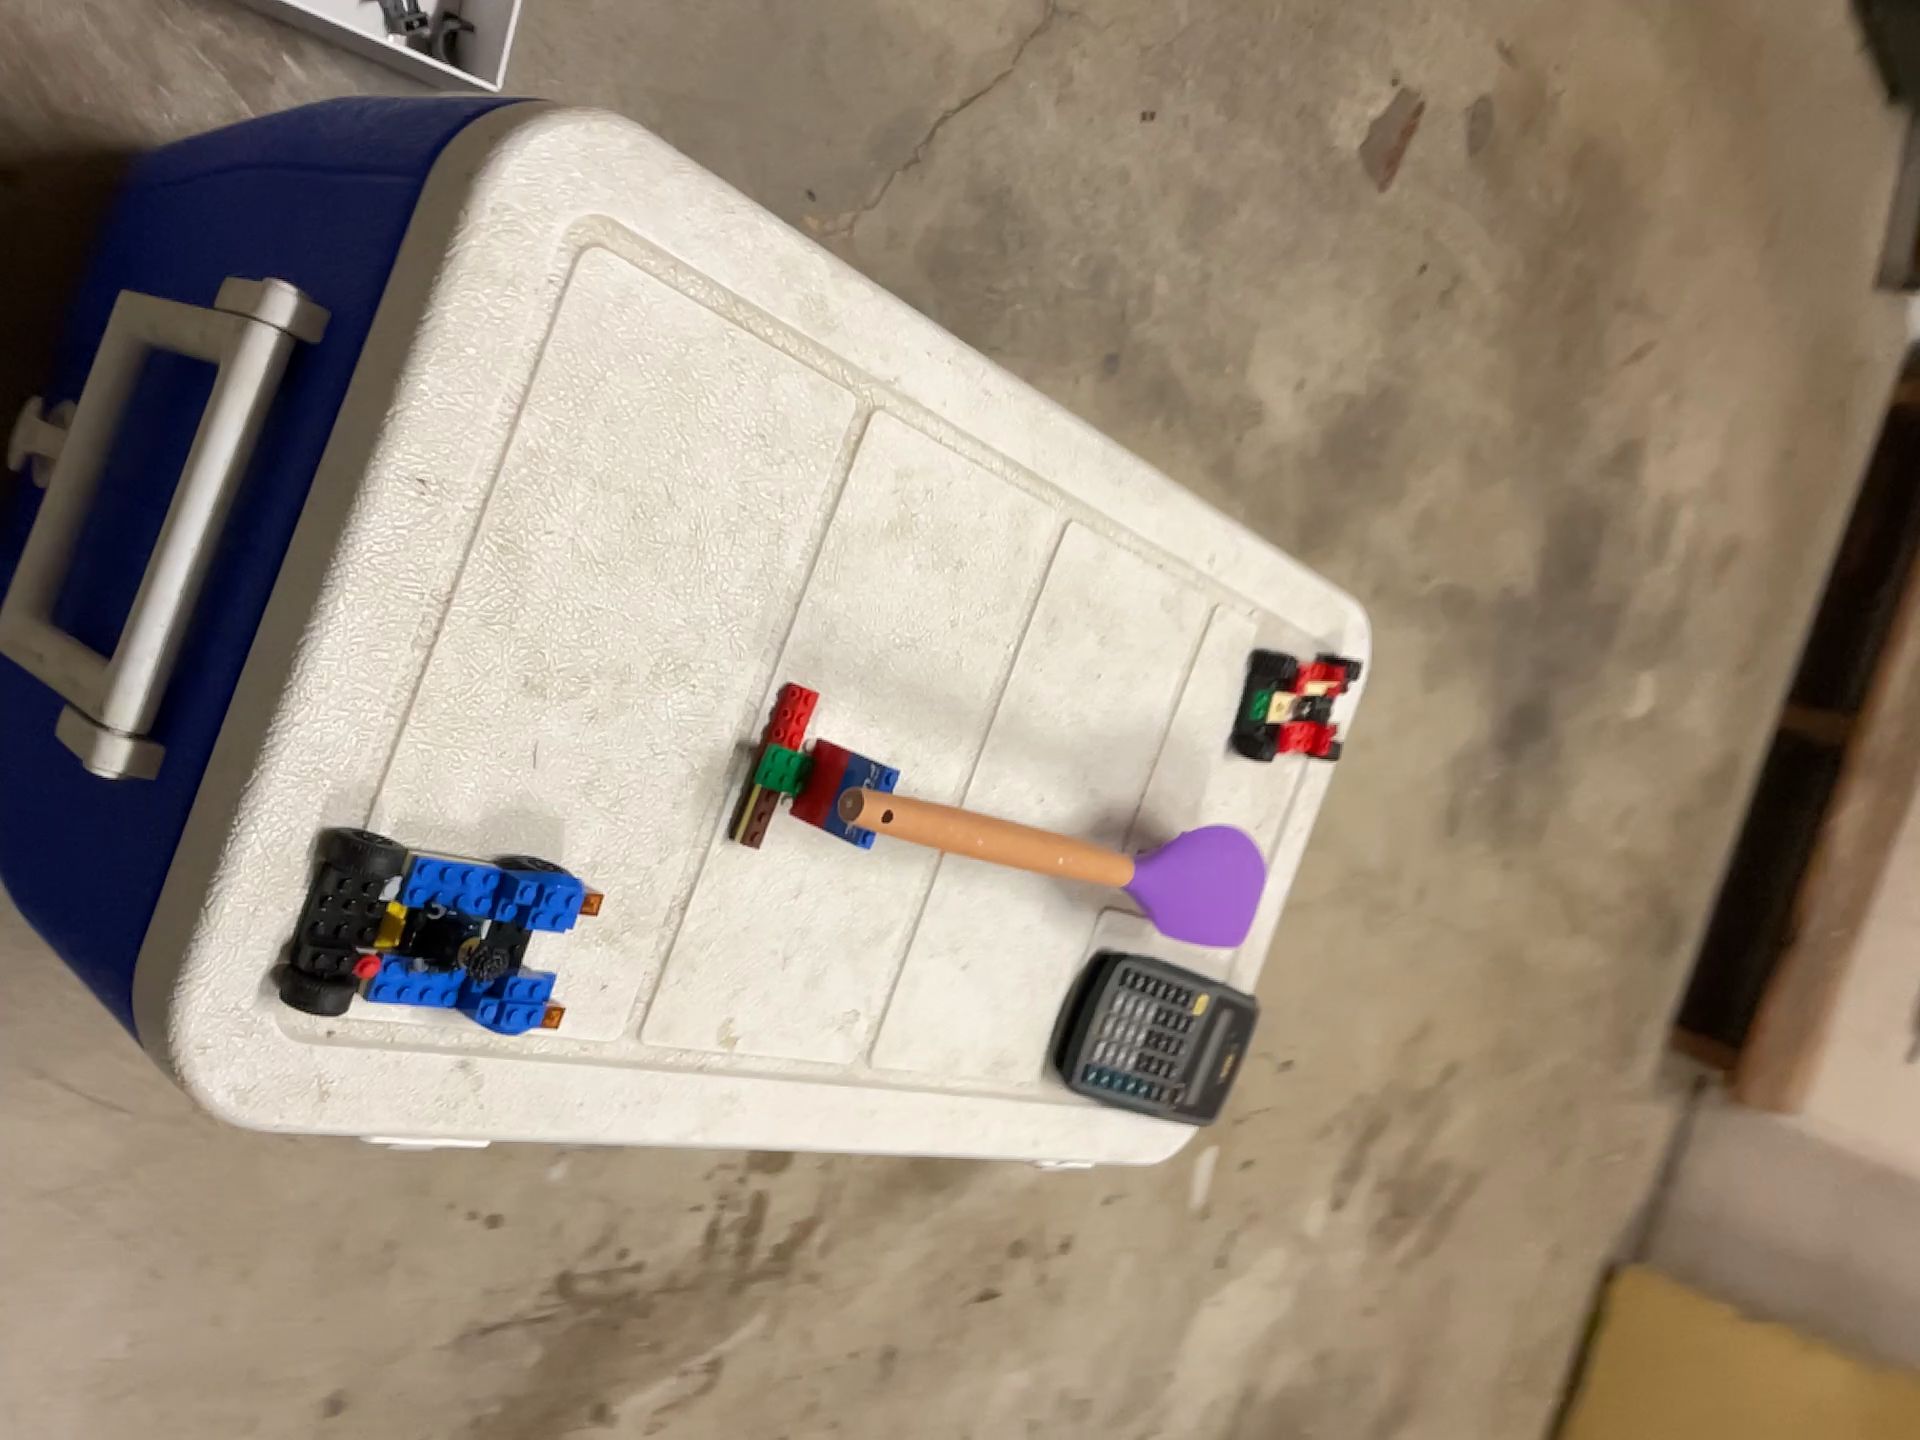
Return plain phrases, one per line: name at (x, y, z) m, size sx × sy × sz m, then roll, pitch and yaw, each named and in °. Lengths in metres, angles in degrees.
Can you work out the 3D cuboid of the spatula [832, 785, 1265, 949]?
spatula at (0.054, 0.059, 0.680) m, size 0.316 × 0.018 × 0.060 m, roll 18°, pitch 92°, yaw -51°
